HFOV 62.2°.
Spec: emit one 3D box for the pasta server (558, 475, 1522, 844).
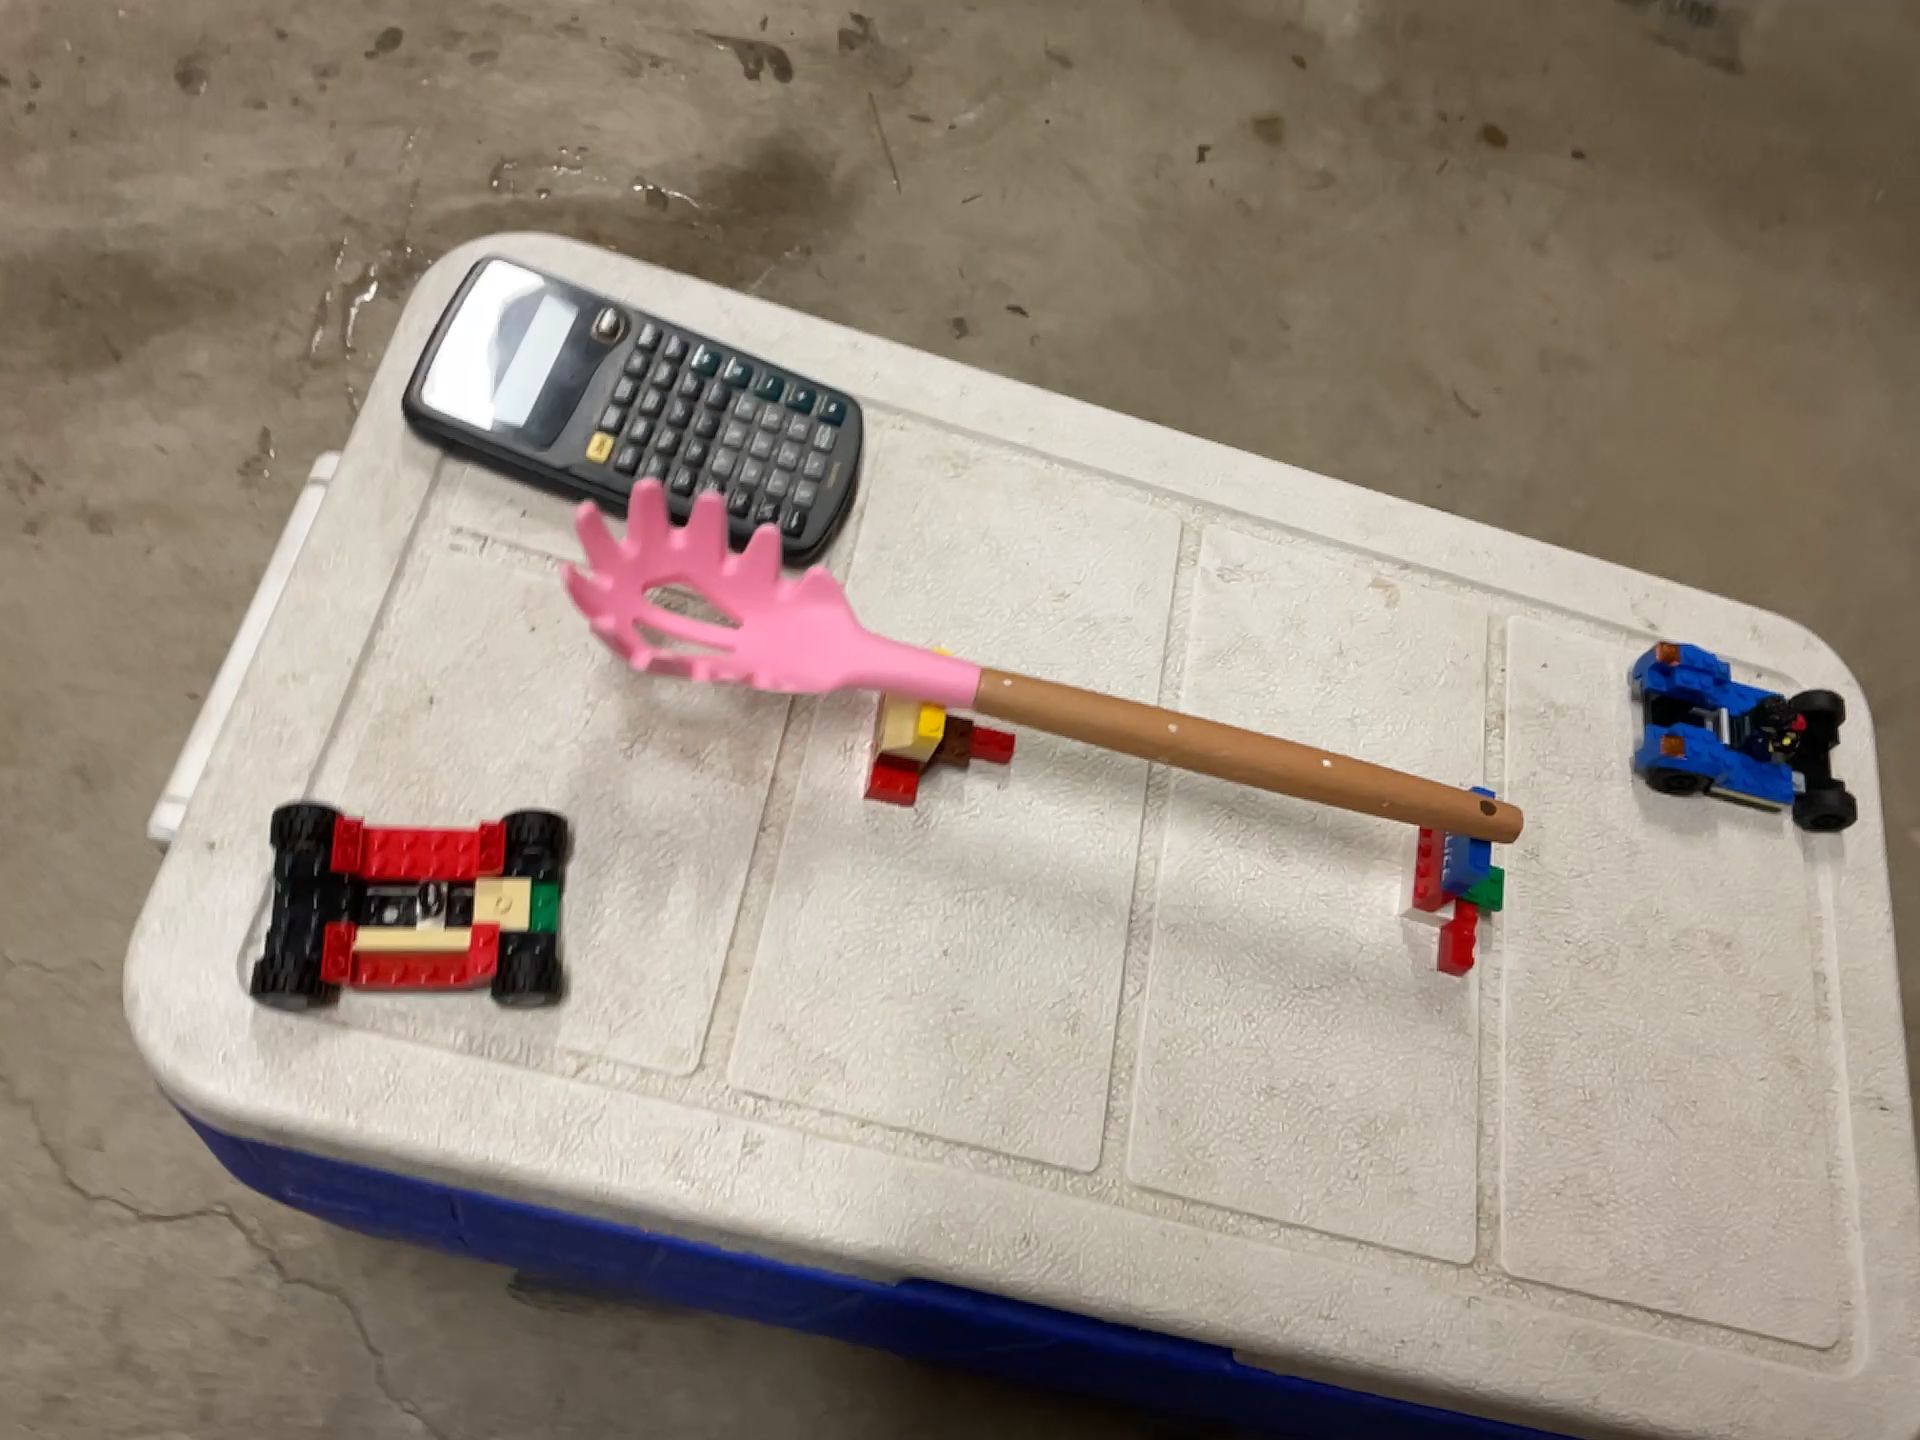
[{"bbox_3d":[0.033,-0.007,0.500,0.316,0.040,0.060,14,63,-7],"label":"pasta server"}]
